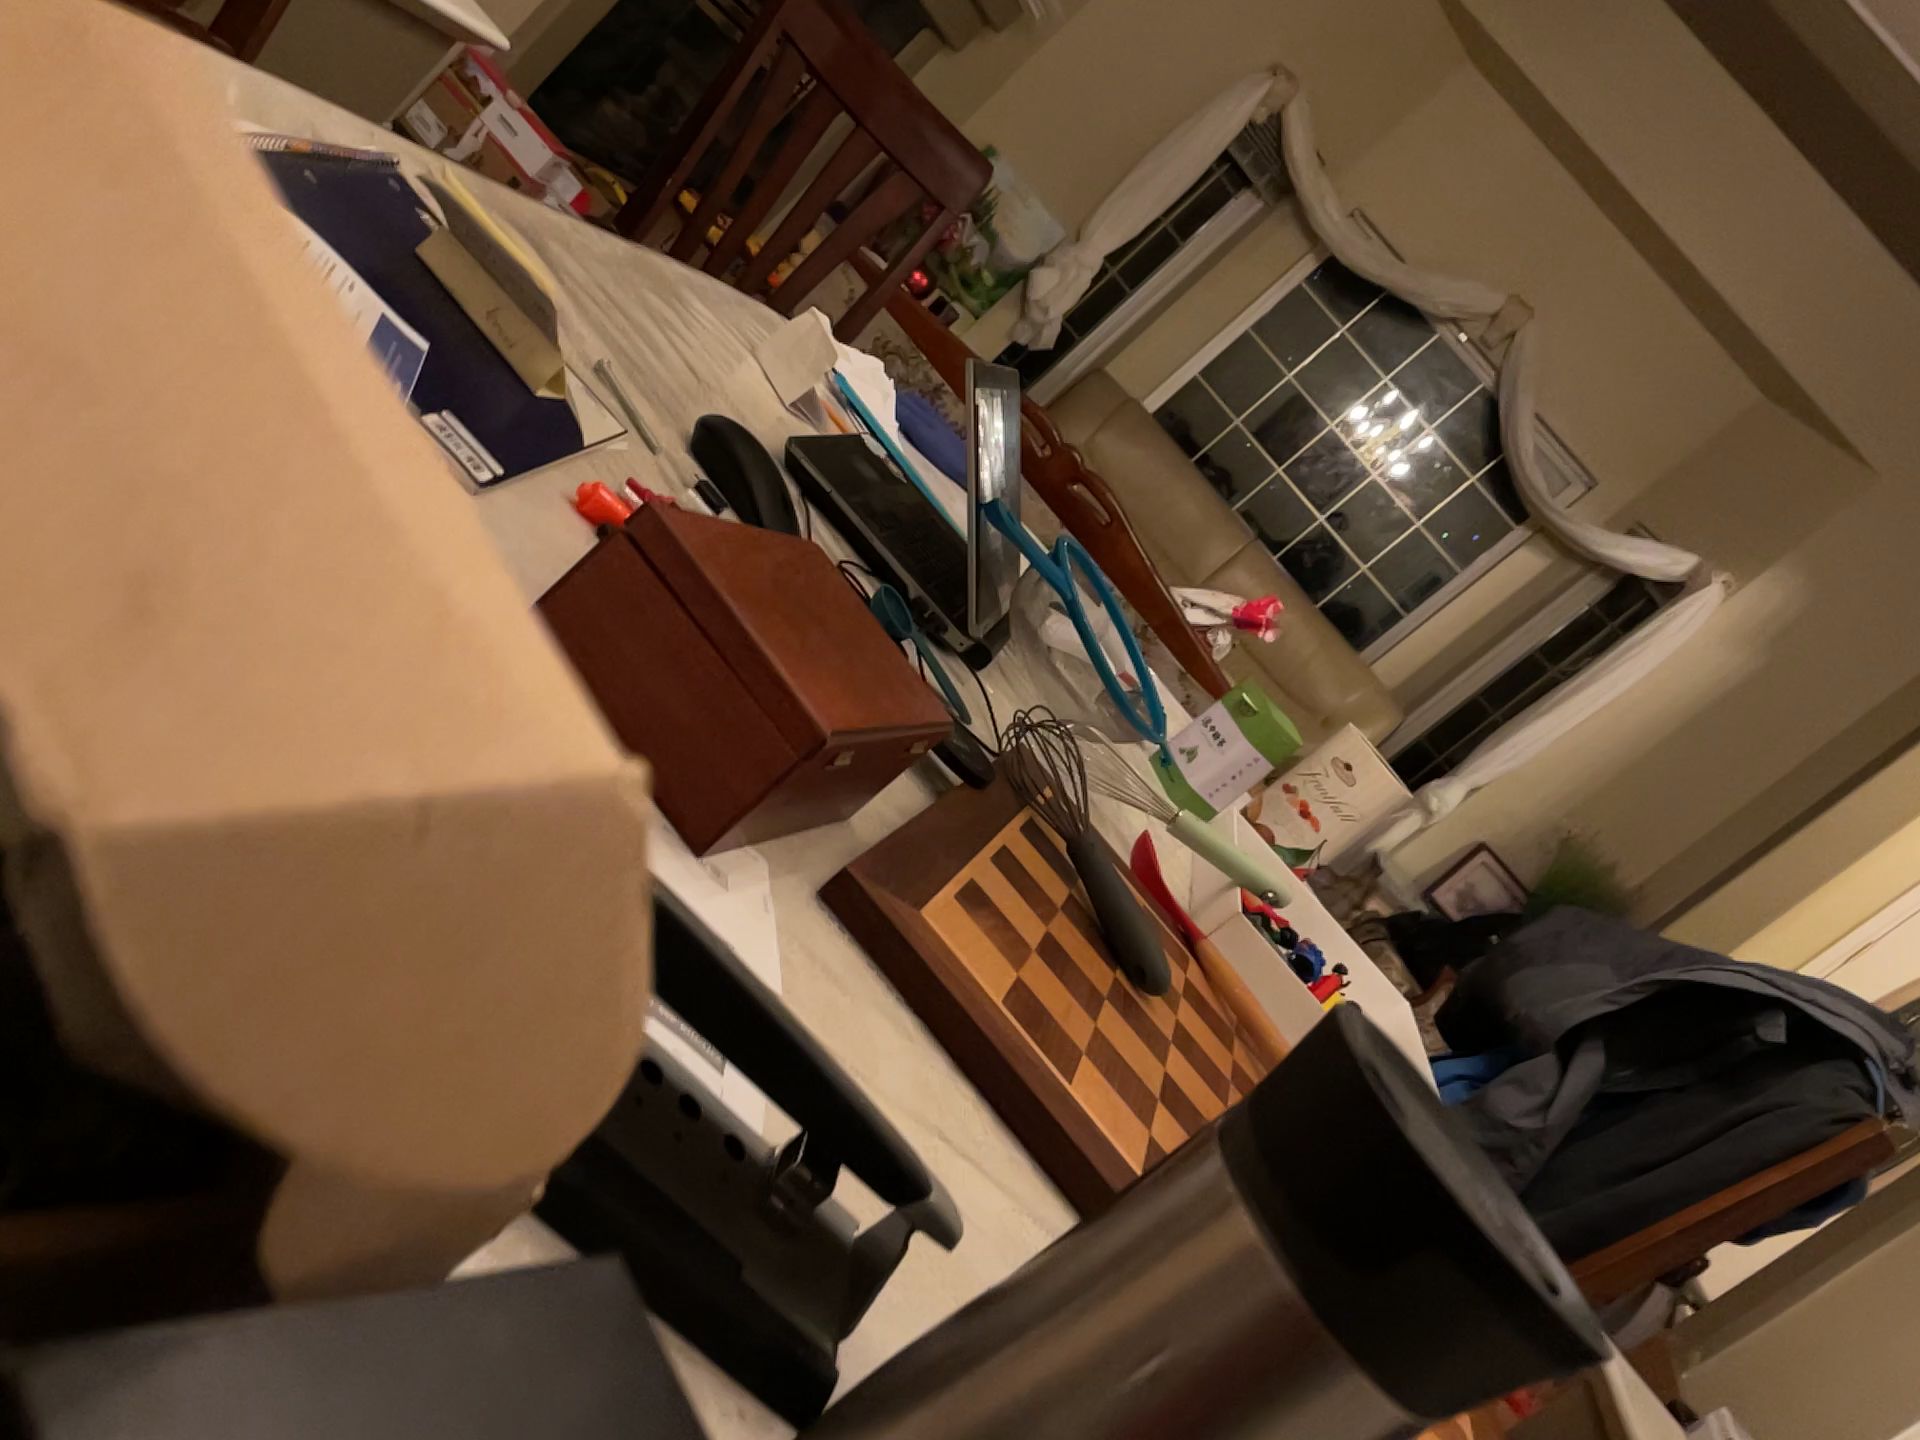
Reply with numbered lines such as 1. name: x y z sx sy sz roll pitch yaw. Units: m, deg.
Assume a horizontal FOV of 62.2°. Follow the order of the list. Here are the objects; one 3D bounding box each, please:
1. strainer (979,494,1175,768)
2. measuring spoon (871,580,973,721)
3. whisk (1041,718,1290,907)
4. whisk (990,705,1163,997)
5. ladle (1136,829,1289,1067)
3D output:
1. strainer: 0.072 -0.084 1.401 0.340 0.095 0.211 41 27 -50
2. measuring spoon: -0.030 -0.045 1.154 0.128 0.021 0.042 57 17 -26
3. whisk: 0.168 0.076 1.304 0.246 0.058 0.059 36 43 2
4. whisk: 0.076 0.080 1.027 0.055 0.055 0.239 19 35 -40
5. ladle: 0.186 0.180 1.132 0.316 0.031 0.069 -119 -174 -56
